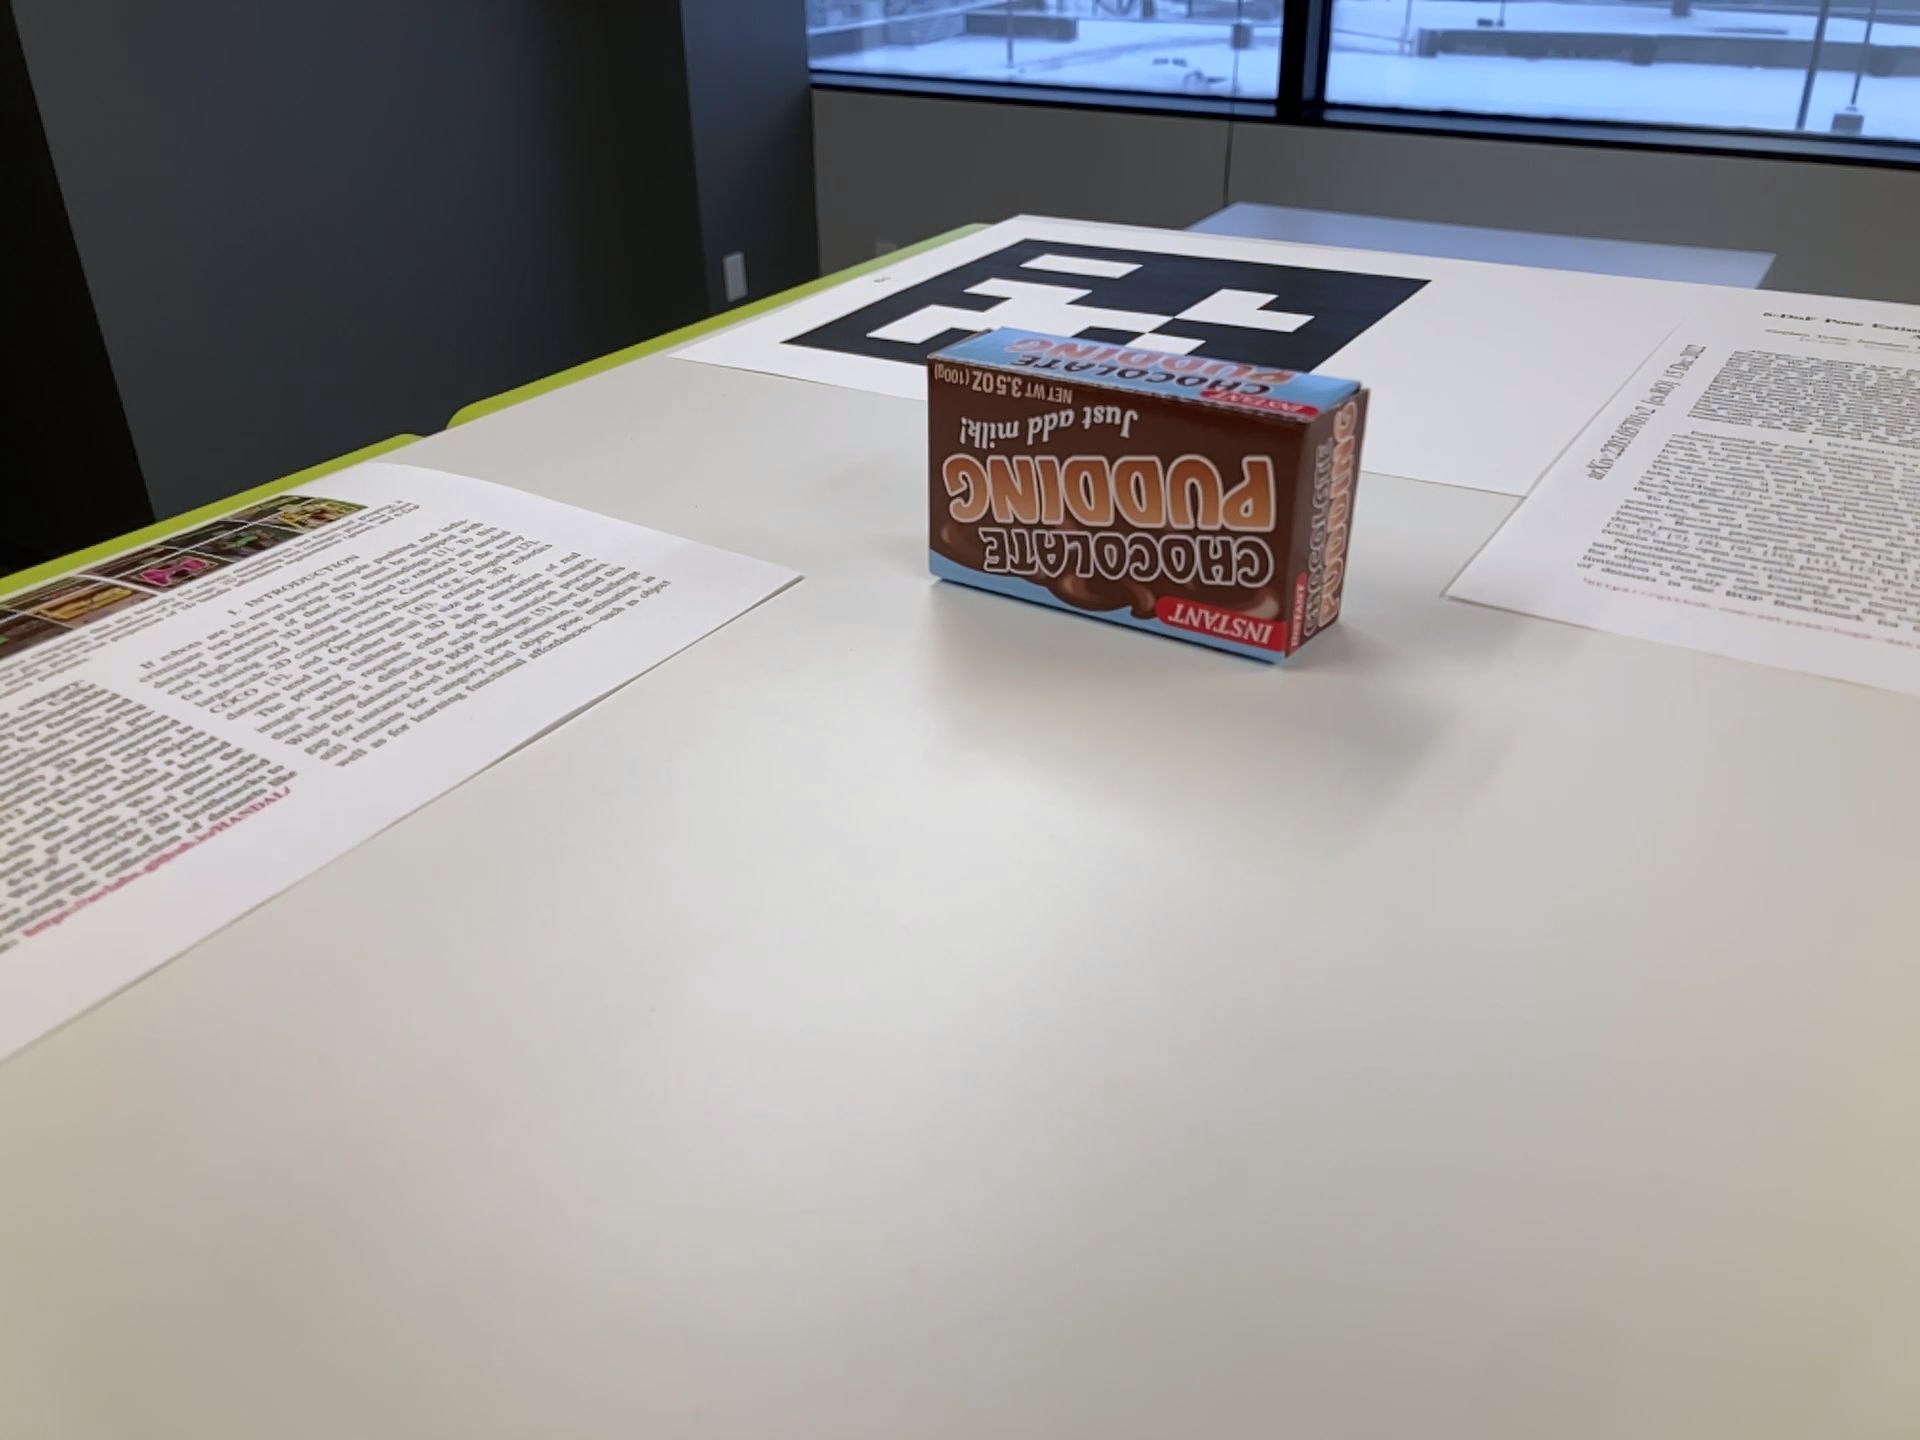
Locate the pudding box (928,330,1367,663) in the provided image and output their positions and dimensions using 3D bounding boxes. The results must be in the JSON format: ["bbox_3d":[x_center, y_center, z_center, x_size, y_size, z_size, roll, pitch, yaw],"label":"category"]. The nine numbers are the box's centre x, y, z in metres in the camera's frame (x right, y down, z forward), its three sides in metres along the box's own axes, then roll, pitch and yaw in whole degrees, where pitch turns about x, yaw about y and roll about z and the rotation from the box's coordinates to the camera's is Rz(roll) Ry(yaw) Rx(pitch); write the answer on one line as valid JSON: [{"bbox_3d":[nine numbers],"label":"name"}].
[{"bbox_3d":[0.035,-0.046,0.319,0.083,0.049,0.030,17,32,30],"label":"pudding box"}]
